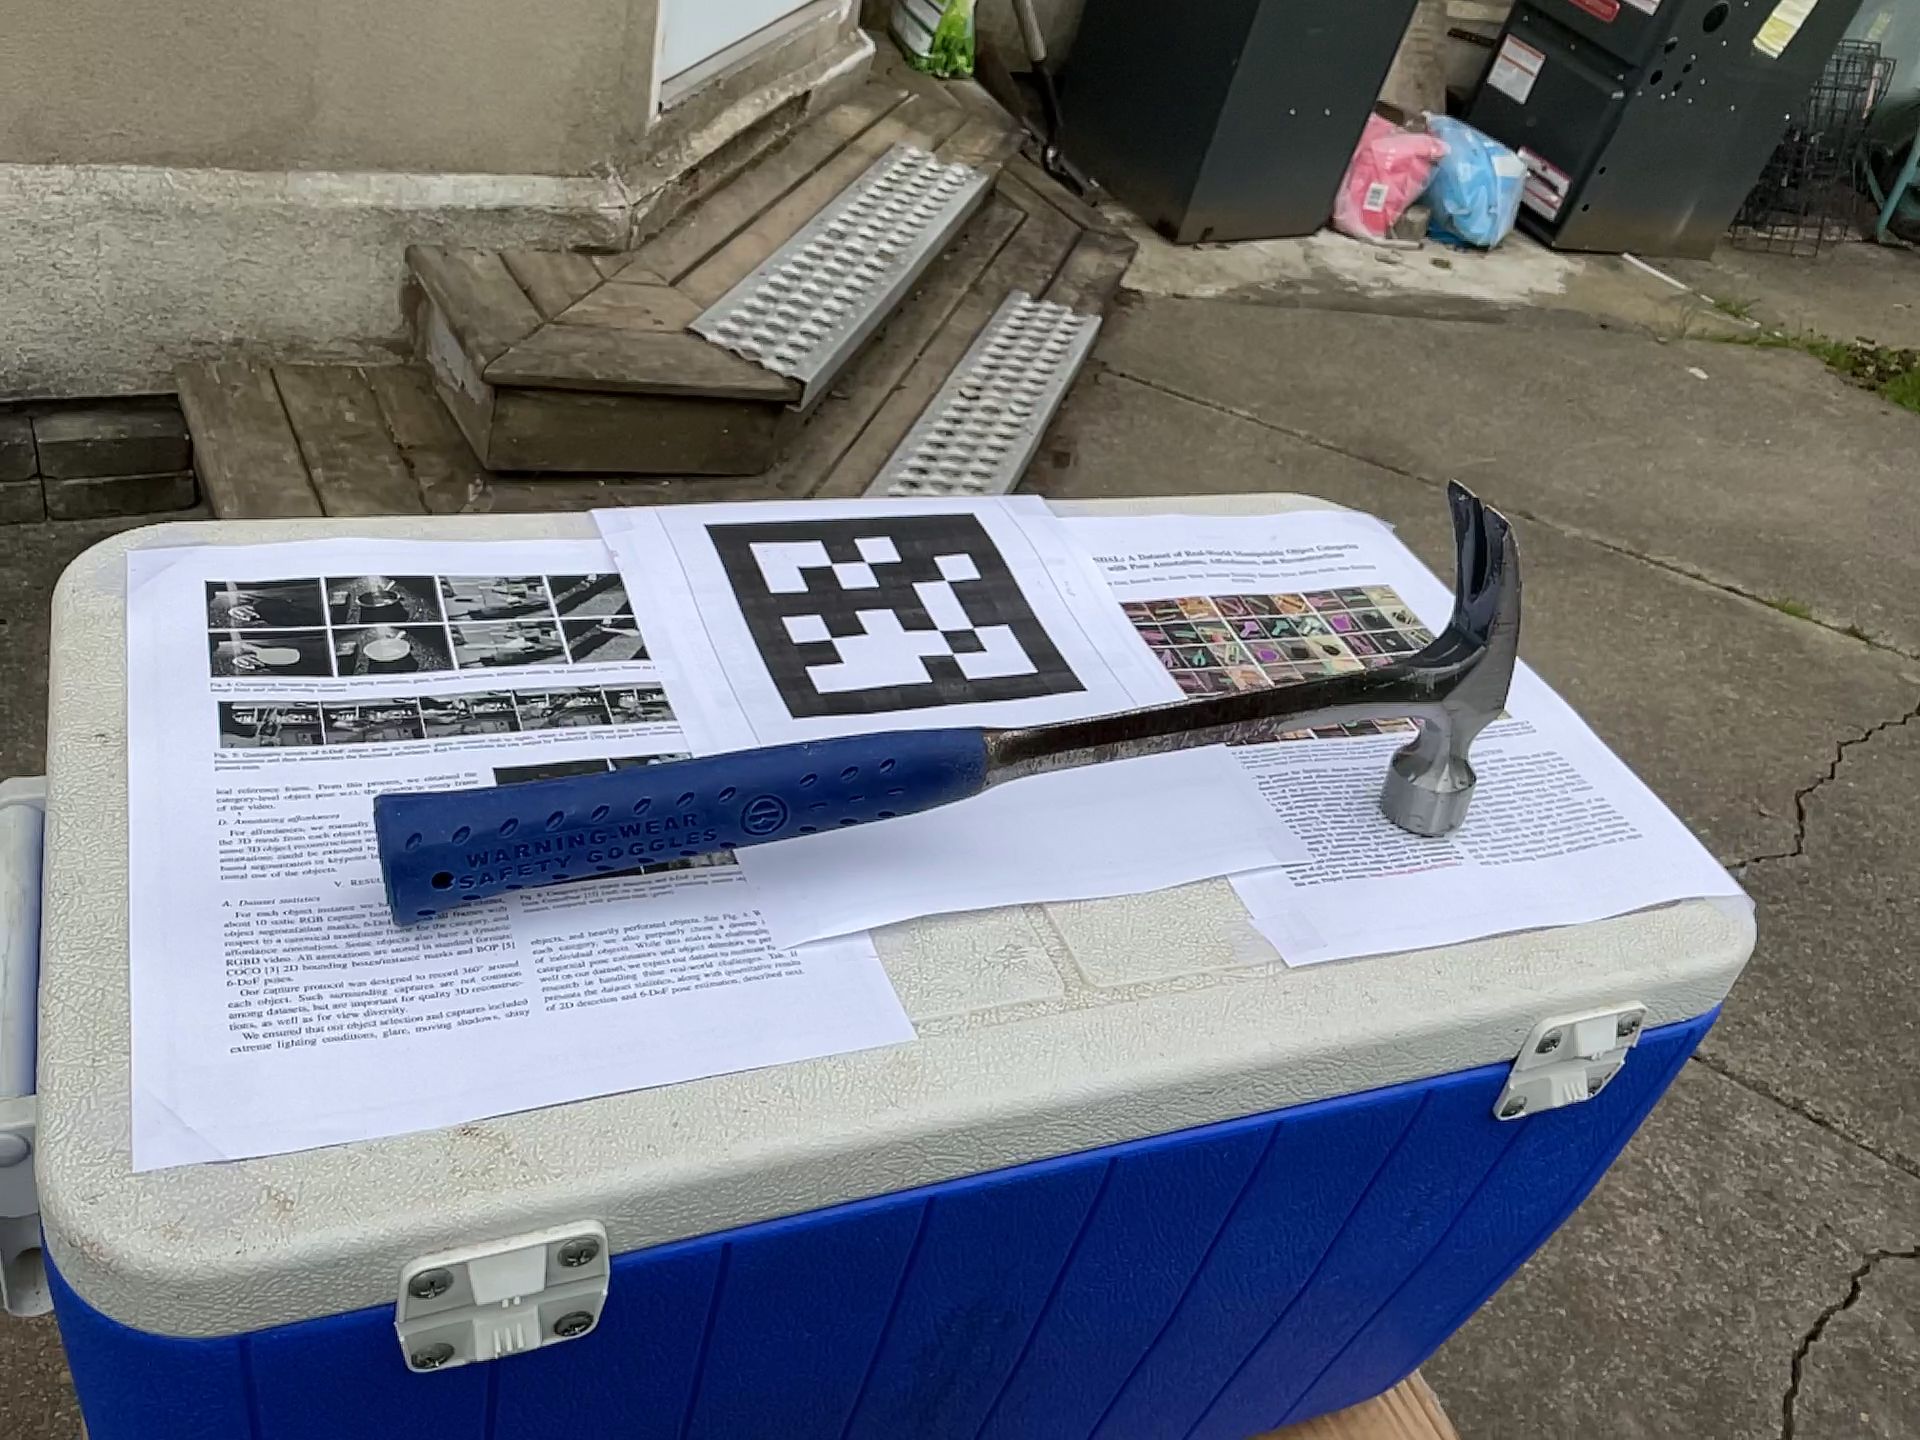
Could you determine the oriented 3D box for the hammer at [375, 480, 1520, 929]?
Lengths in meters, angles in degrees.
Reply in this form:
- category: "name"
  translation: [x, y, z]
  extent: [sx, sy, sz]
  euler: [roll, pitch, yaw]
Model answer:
- category: "hammer"
  translation: [0.016, 0.007, 0.543]
  extent: [0.405, 0.144, 0.035]
  euler: [-9, 37, -19]
